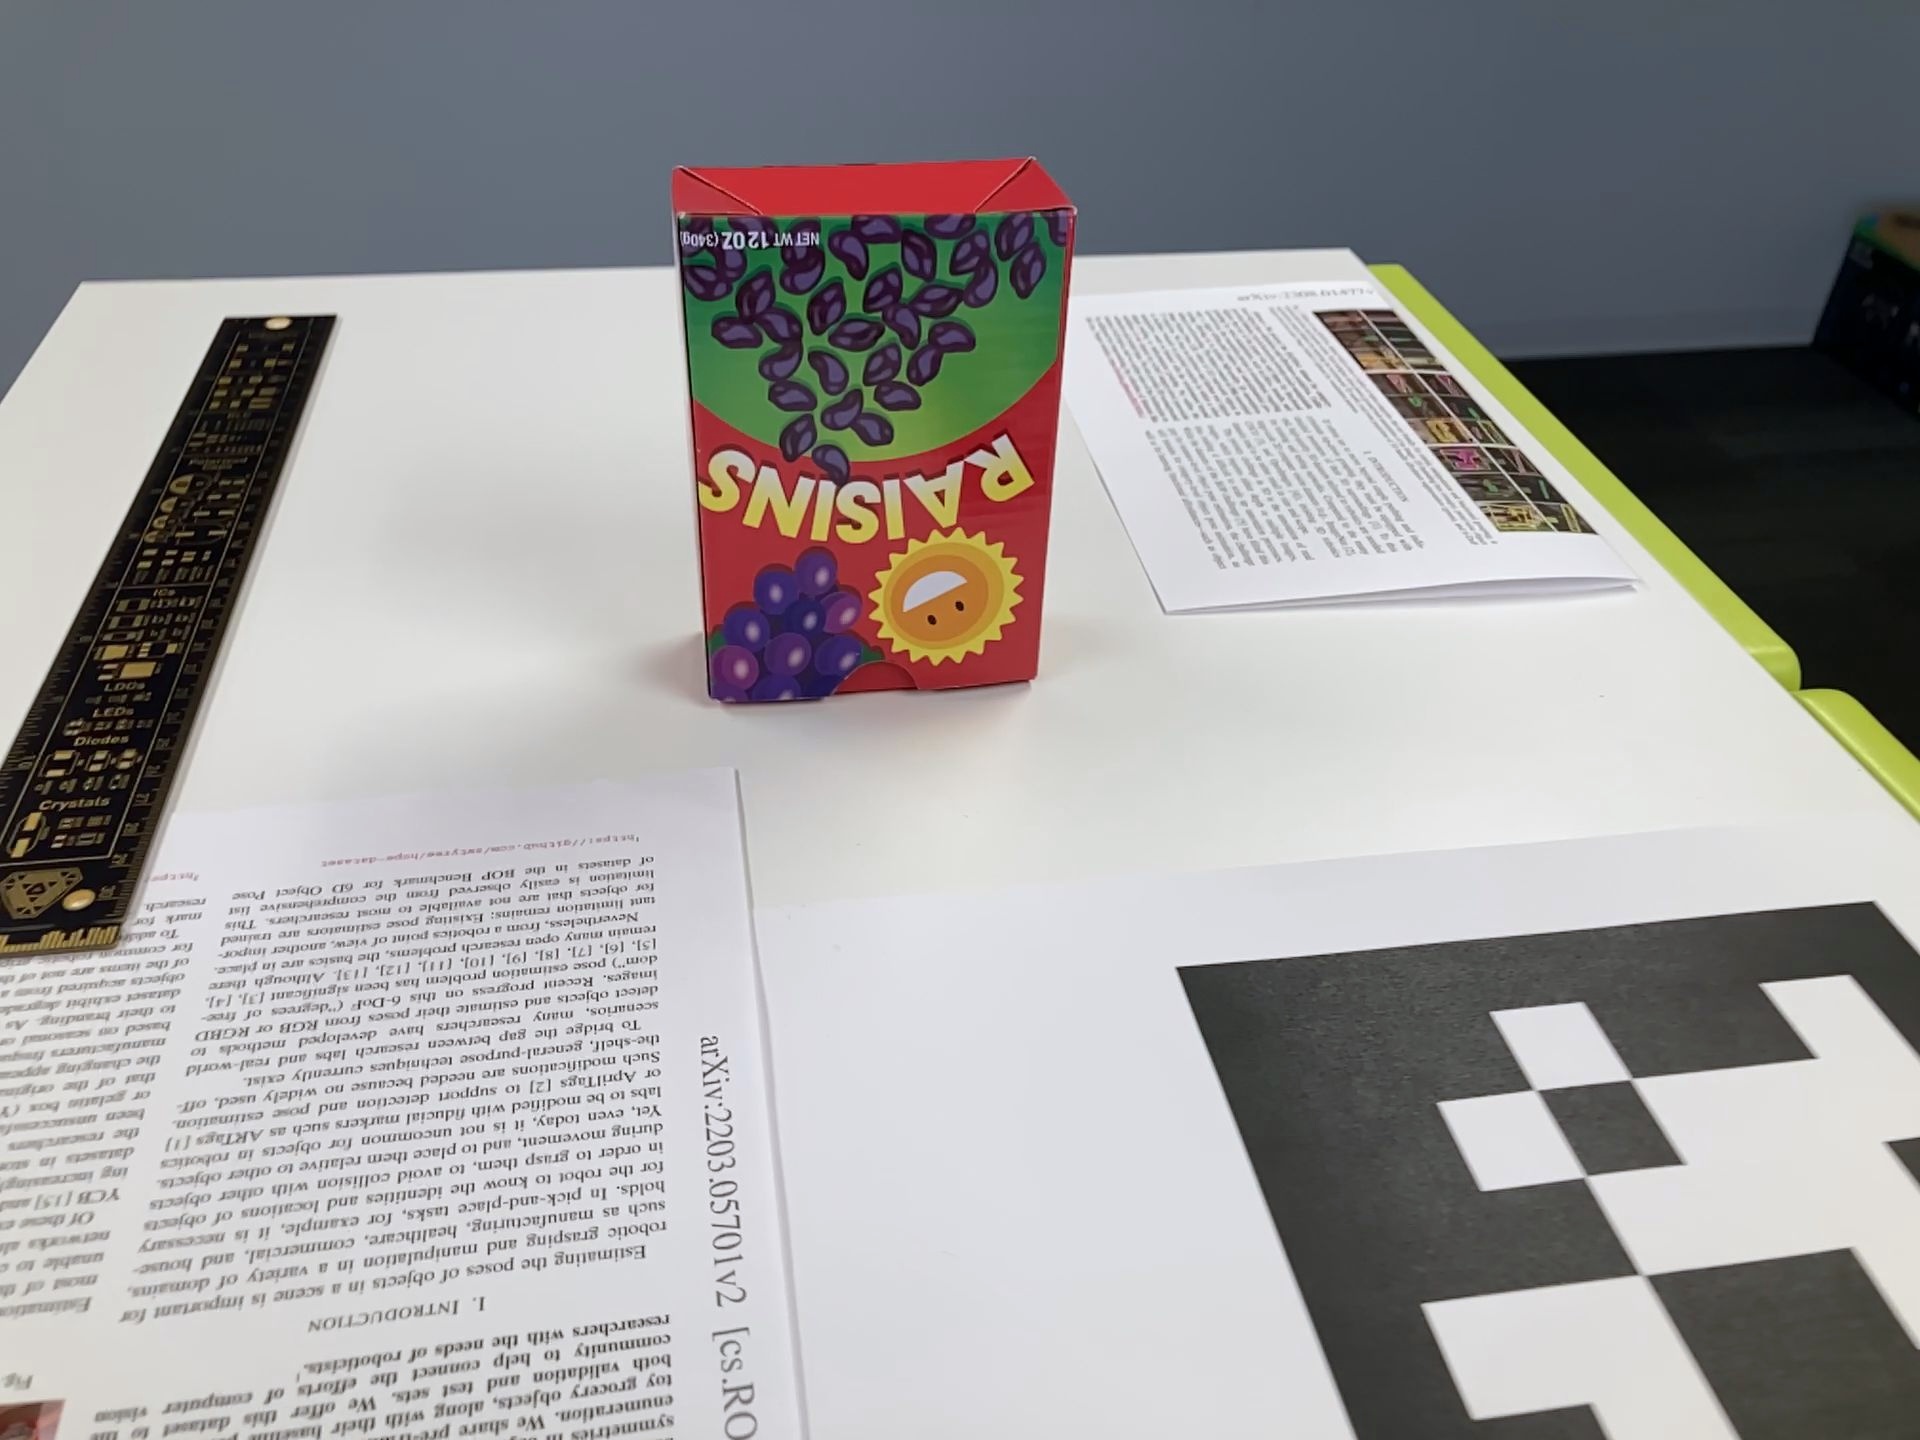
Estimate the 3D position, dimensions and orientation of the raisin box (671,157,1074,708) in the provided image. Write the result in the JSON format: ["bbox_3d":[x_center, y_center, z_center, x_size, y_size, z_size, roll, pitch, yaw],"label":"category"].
[{"bbox_3d":[-0.021,-0.065,0.377,0.086,0.123,0.040,-5,36,-10],"label":"raisin box"}]
